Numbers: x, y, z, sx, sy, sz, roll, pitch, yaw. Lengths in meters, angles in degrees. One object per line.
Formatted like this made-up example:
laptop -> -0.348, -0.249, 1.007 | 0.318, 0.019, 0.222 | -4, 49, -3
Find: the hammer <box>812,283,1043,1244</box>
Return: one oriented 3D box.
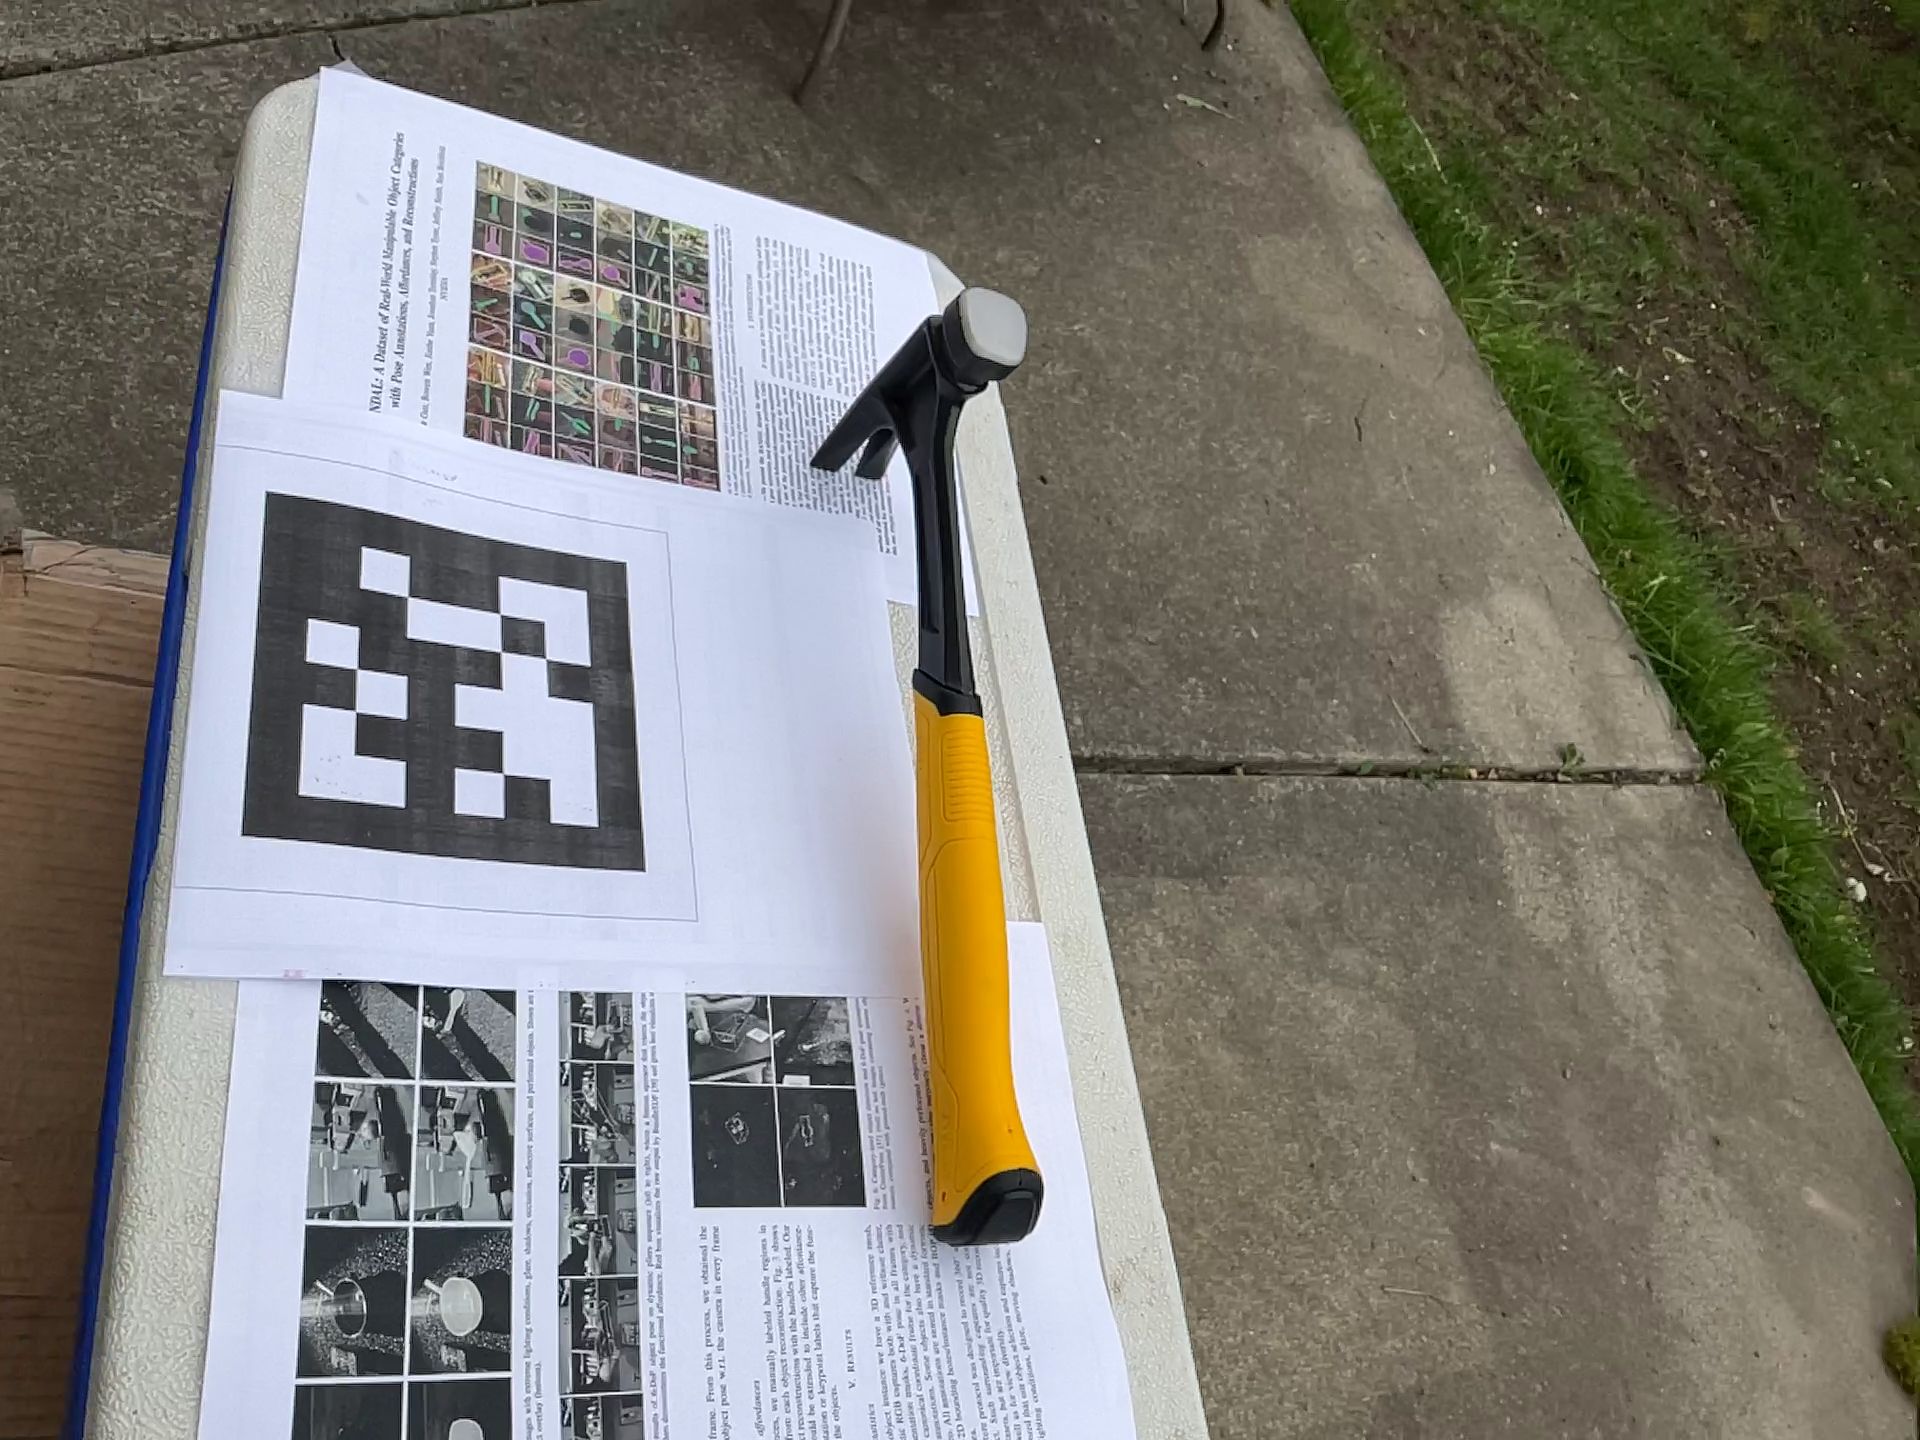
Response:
hammer -> -0.007, 0.014, 0.584 | 0.034, 0.127, 0.337 | 8, 66, -29
